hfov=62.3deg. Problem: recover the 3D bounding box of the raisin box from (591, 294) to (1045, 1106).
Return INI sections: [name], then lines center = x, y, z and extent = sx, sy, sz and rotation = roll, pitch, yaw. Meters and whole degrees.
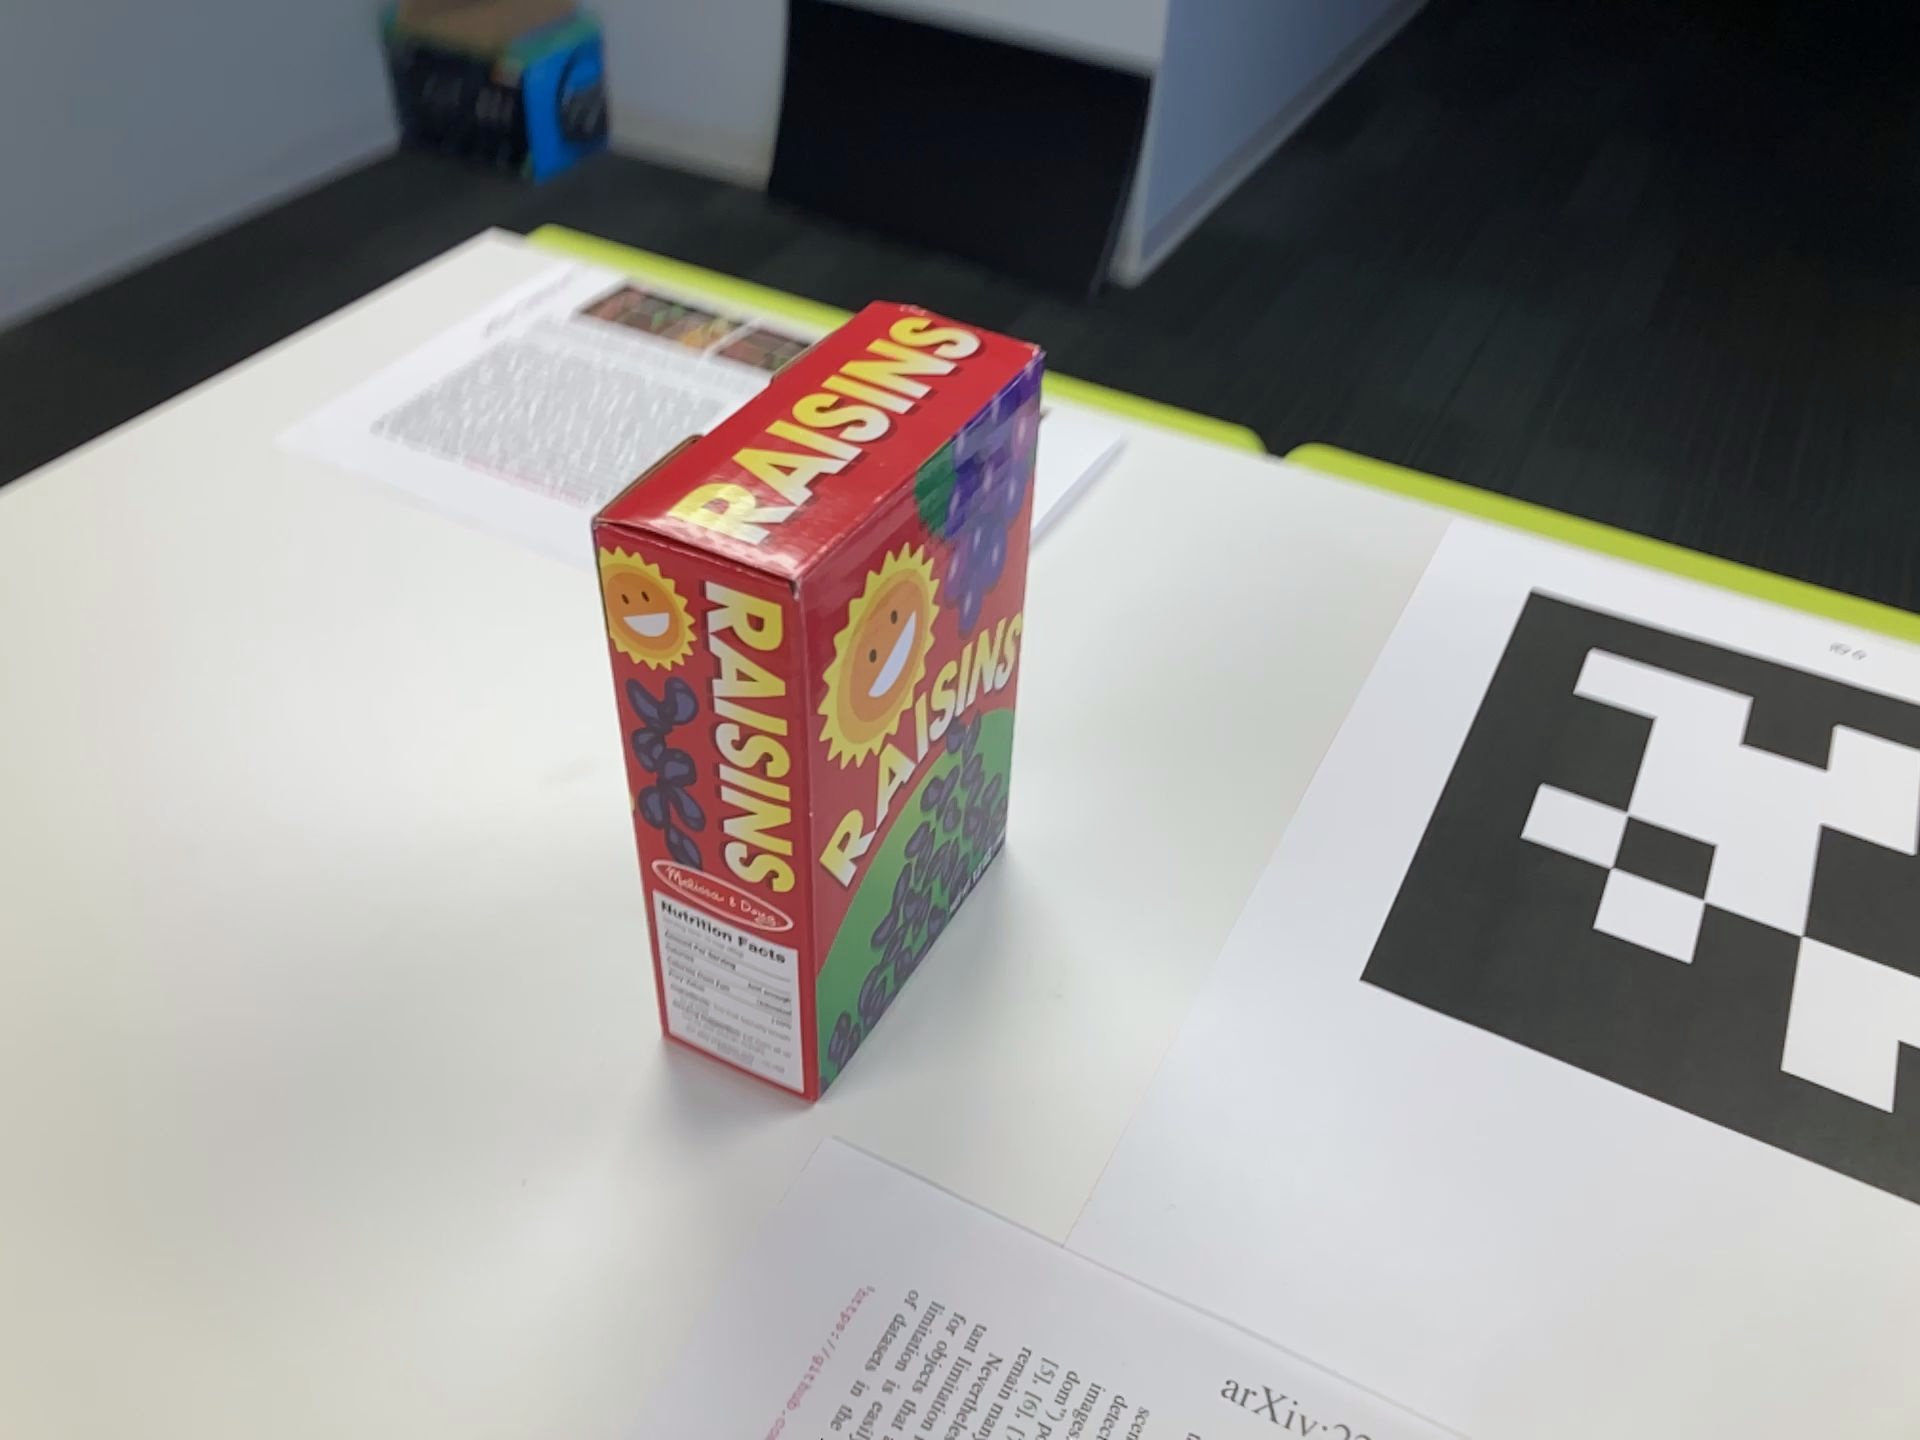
[raisin box]
center = -0.022, -0.003, 0.296
extent = 0.040, 0.123, 0.086
rotation = 21, 43, 20
